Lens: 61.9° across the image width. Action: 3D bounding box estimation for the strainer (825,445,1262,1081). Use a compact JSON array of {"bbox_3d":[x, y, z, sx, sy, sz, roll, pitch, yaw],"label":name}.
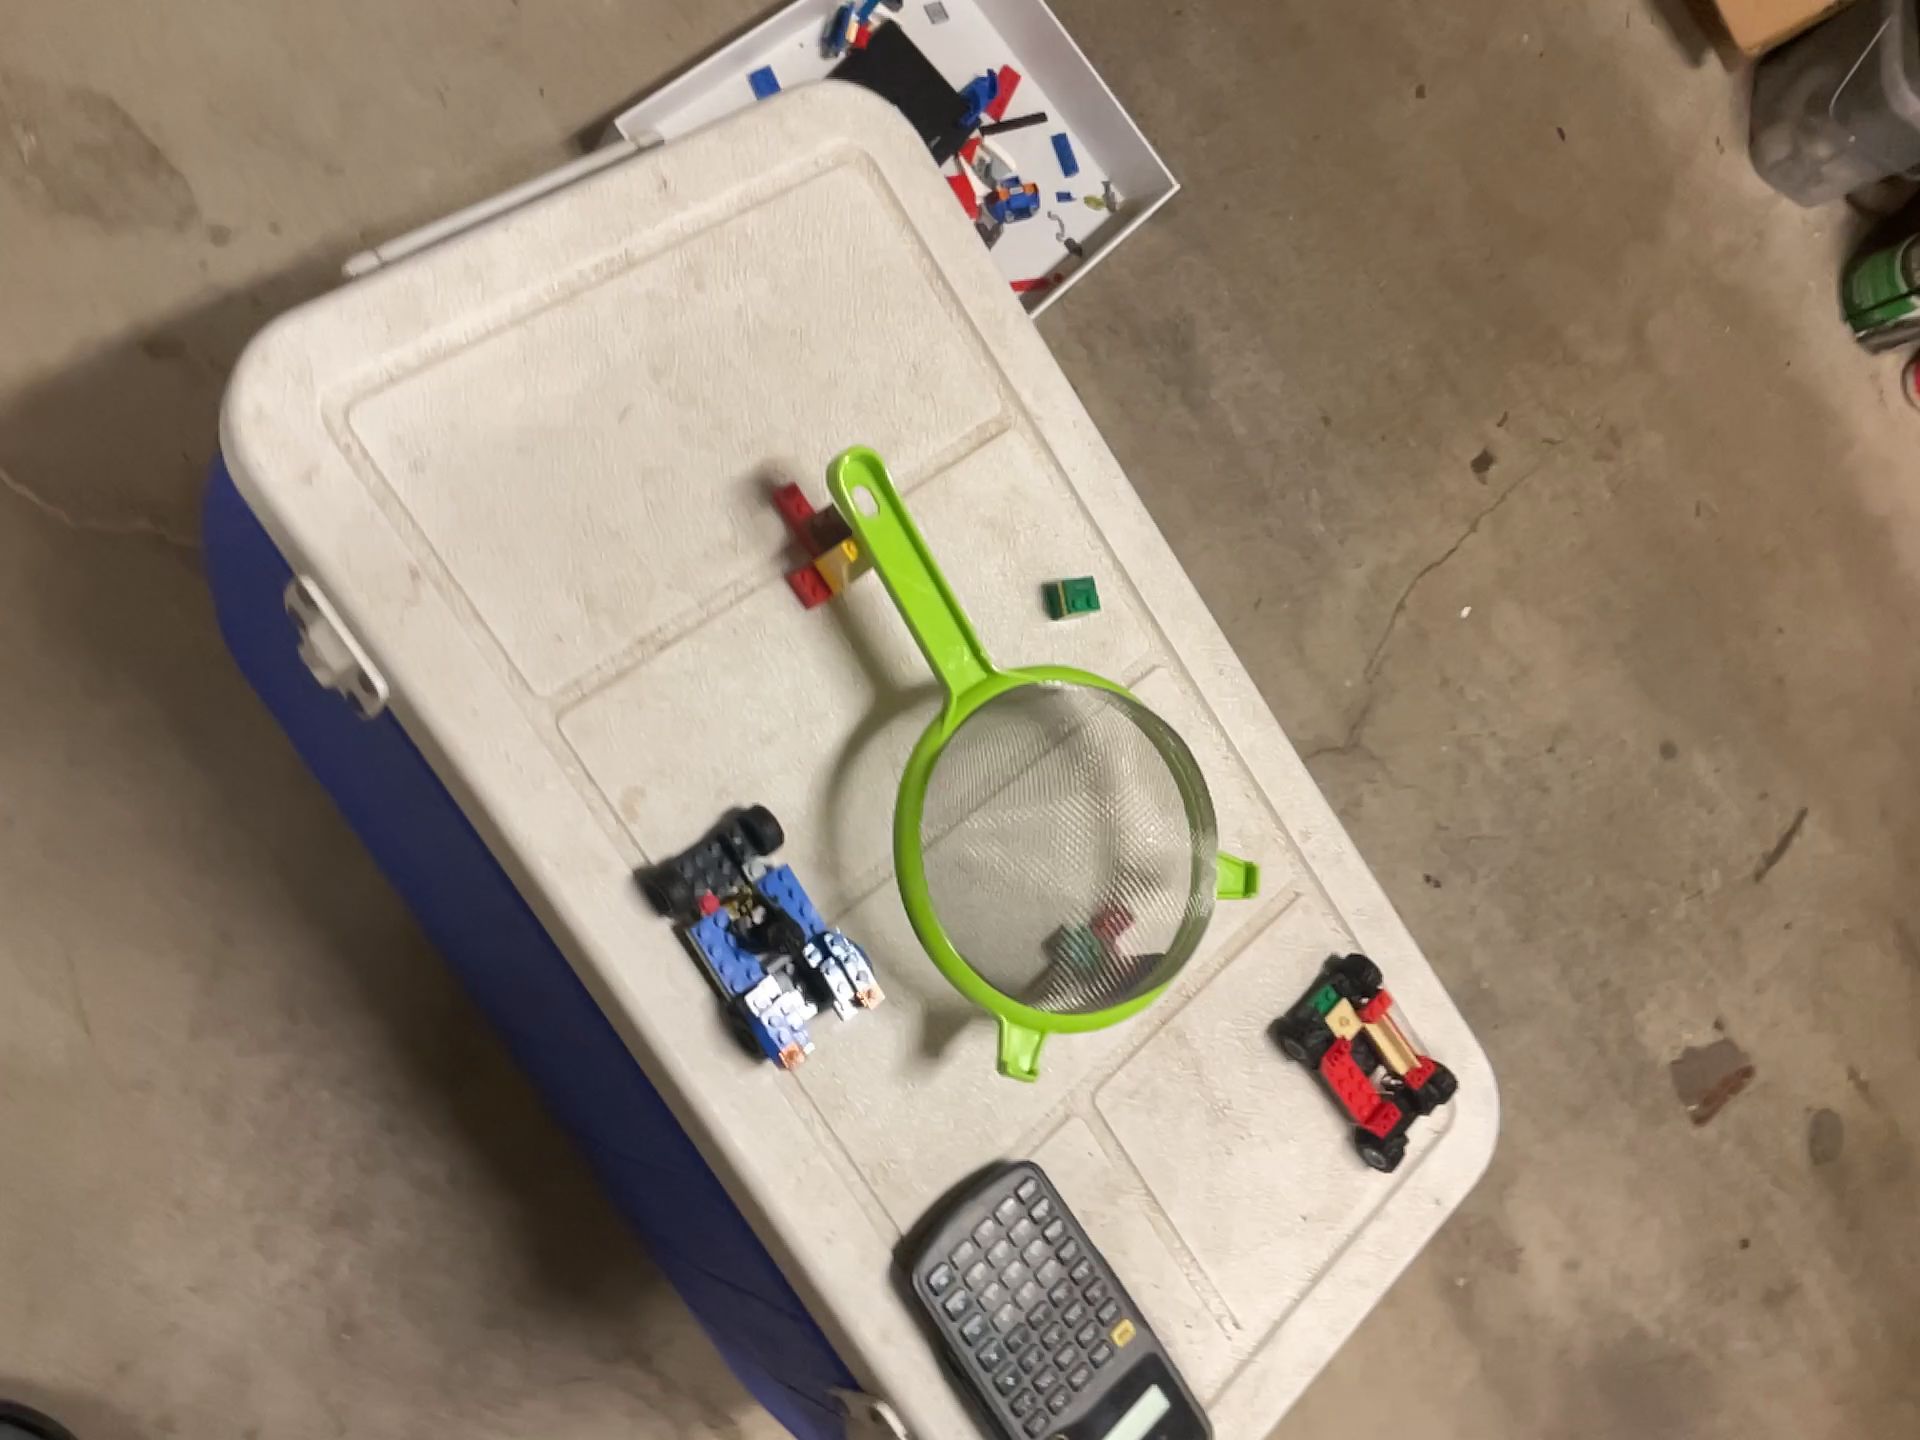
[{"bbox_3d":[0.027,0.002,0.624,0.151,0.069,0.256,-33,98,-28],"label":"strainer"}]
